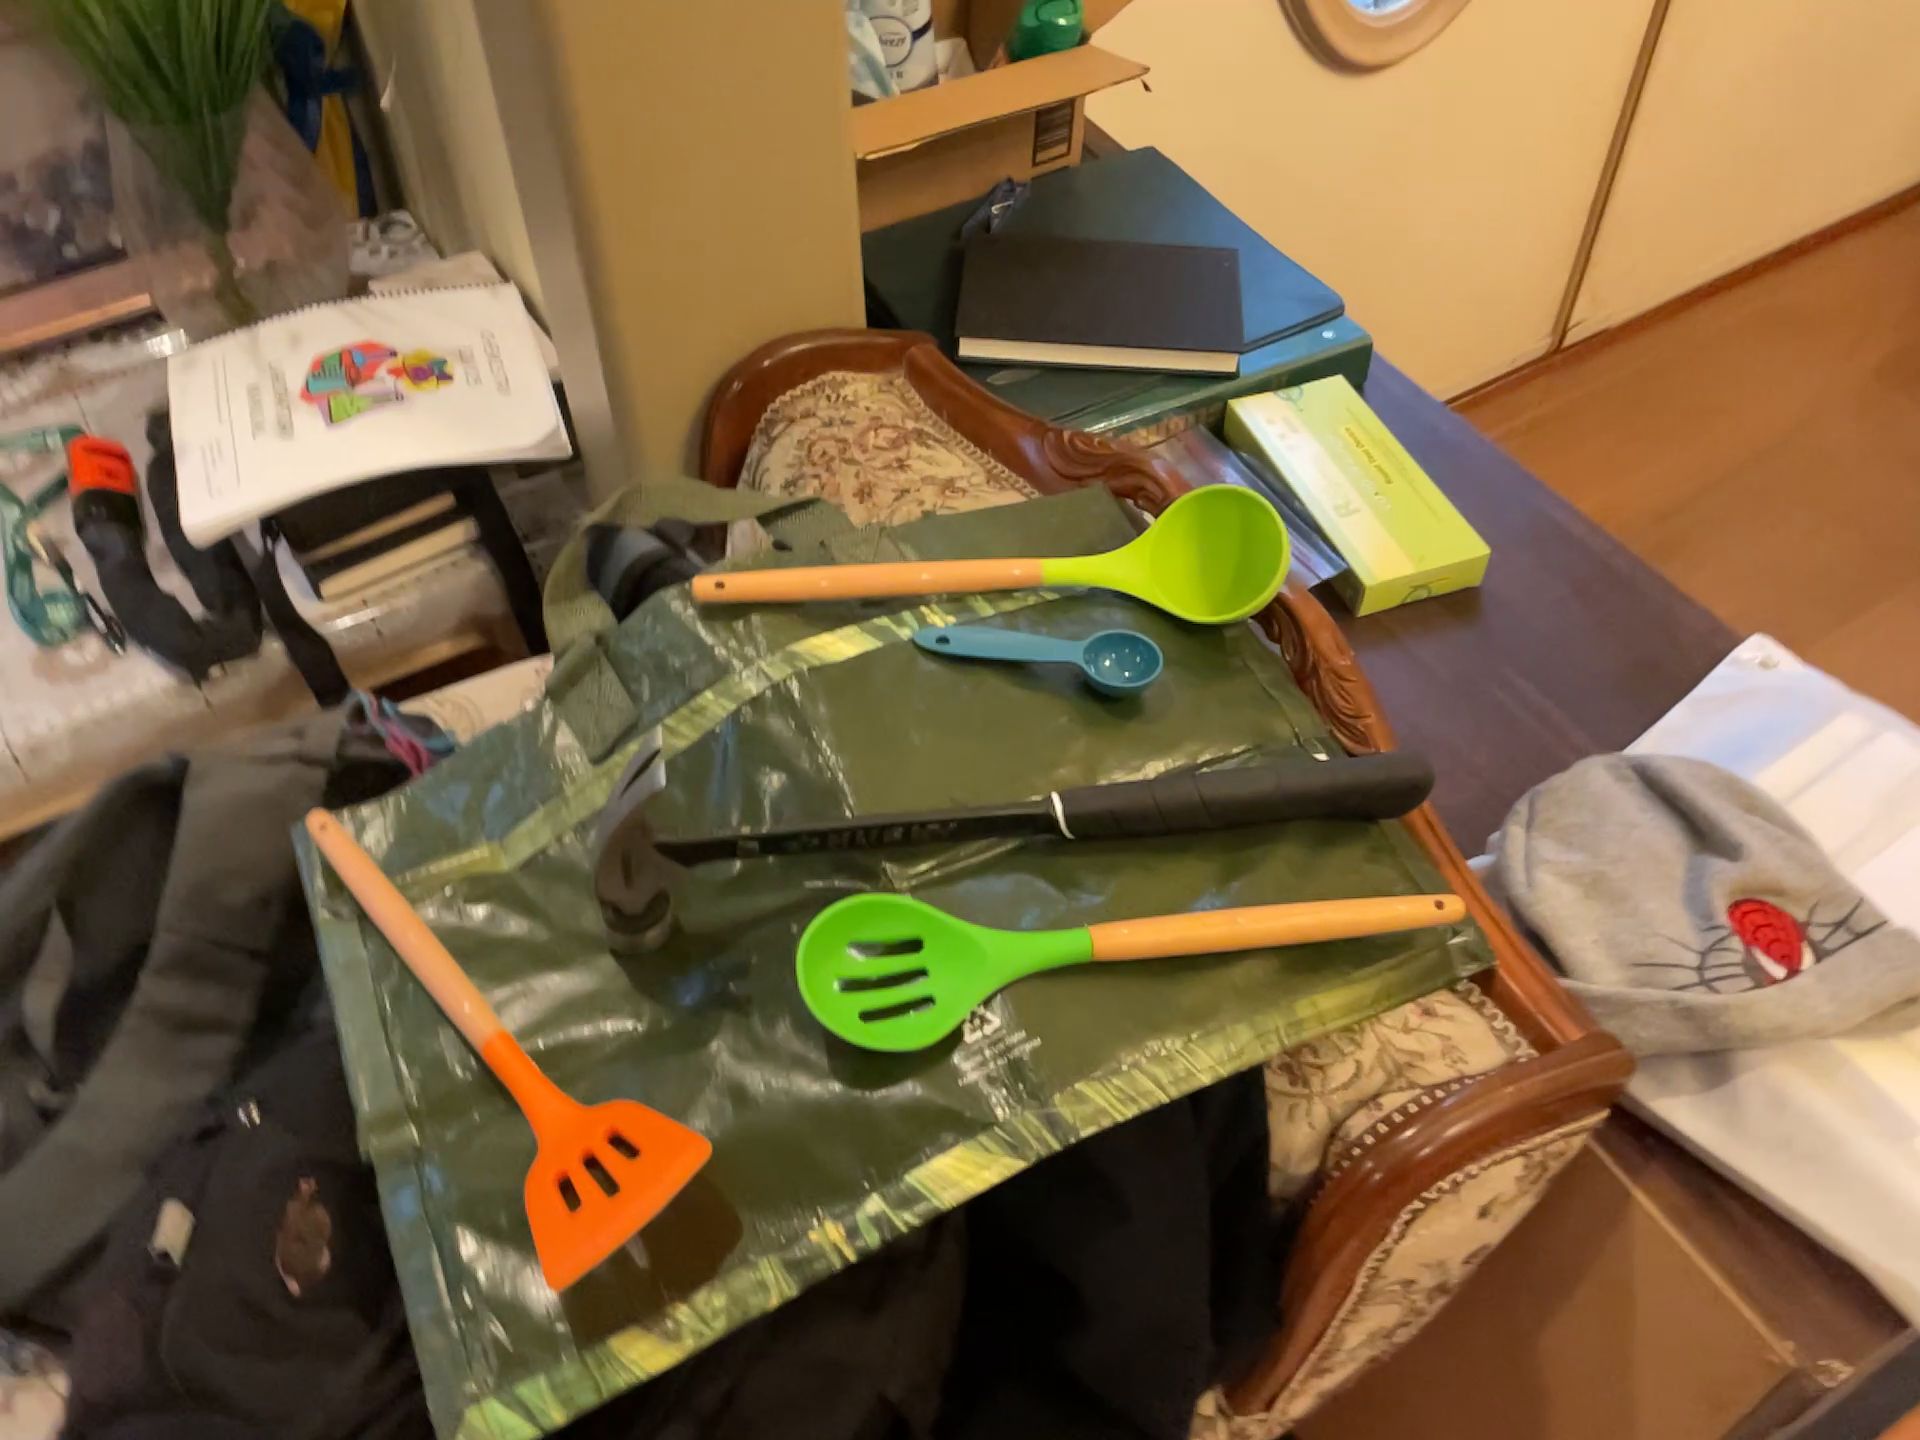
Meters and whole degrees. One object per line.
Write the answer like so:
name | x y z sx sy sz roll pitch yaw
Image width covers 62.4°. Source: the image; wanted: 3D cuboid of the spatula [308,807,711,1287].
spatula | -0.227 0.127 0.724 0.081 0.041 0.323 -38 54 -19

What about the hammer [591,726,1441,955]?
hammer | 0.034 0.043 0.748 0.408 0.149 0.036 -5 56 -12

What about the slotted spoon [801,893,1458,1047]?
slotted spoon | 0.083 0.101 0.714 0.313 0.031 0.070 -4 62 -14

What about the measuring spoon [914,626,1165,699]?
measuring spoon | 0.040 -0.030 0.815 0.128 0.021 0.042 7 46 6

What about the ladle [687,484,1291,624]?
ladle | 0.019 -0.080 0.835 0.320 0.062 0.078 -4 73 -11
